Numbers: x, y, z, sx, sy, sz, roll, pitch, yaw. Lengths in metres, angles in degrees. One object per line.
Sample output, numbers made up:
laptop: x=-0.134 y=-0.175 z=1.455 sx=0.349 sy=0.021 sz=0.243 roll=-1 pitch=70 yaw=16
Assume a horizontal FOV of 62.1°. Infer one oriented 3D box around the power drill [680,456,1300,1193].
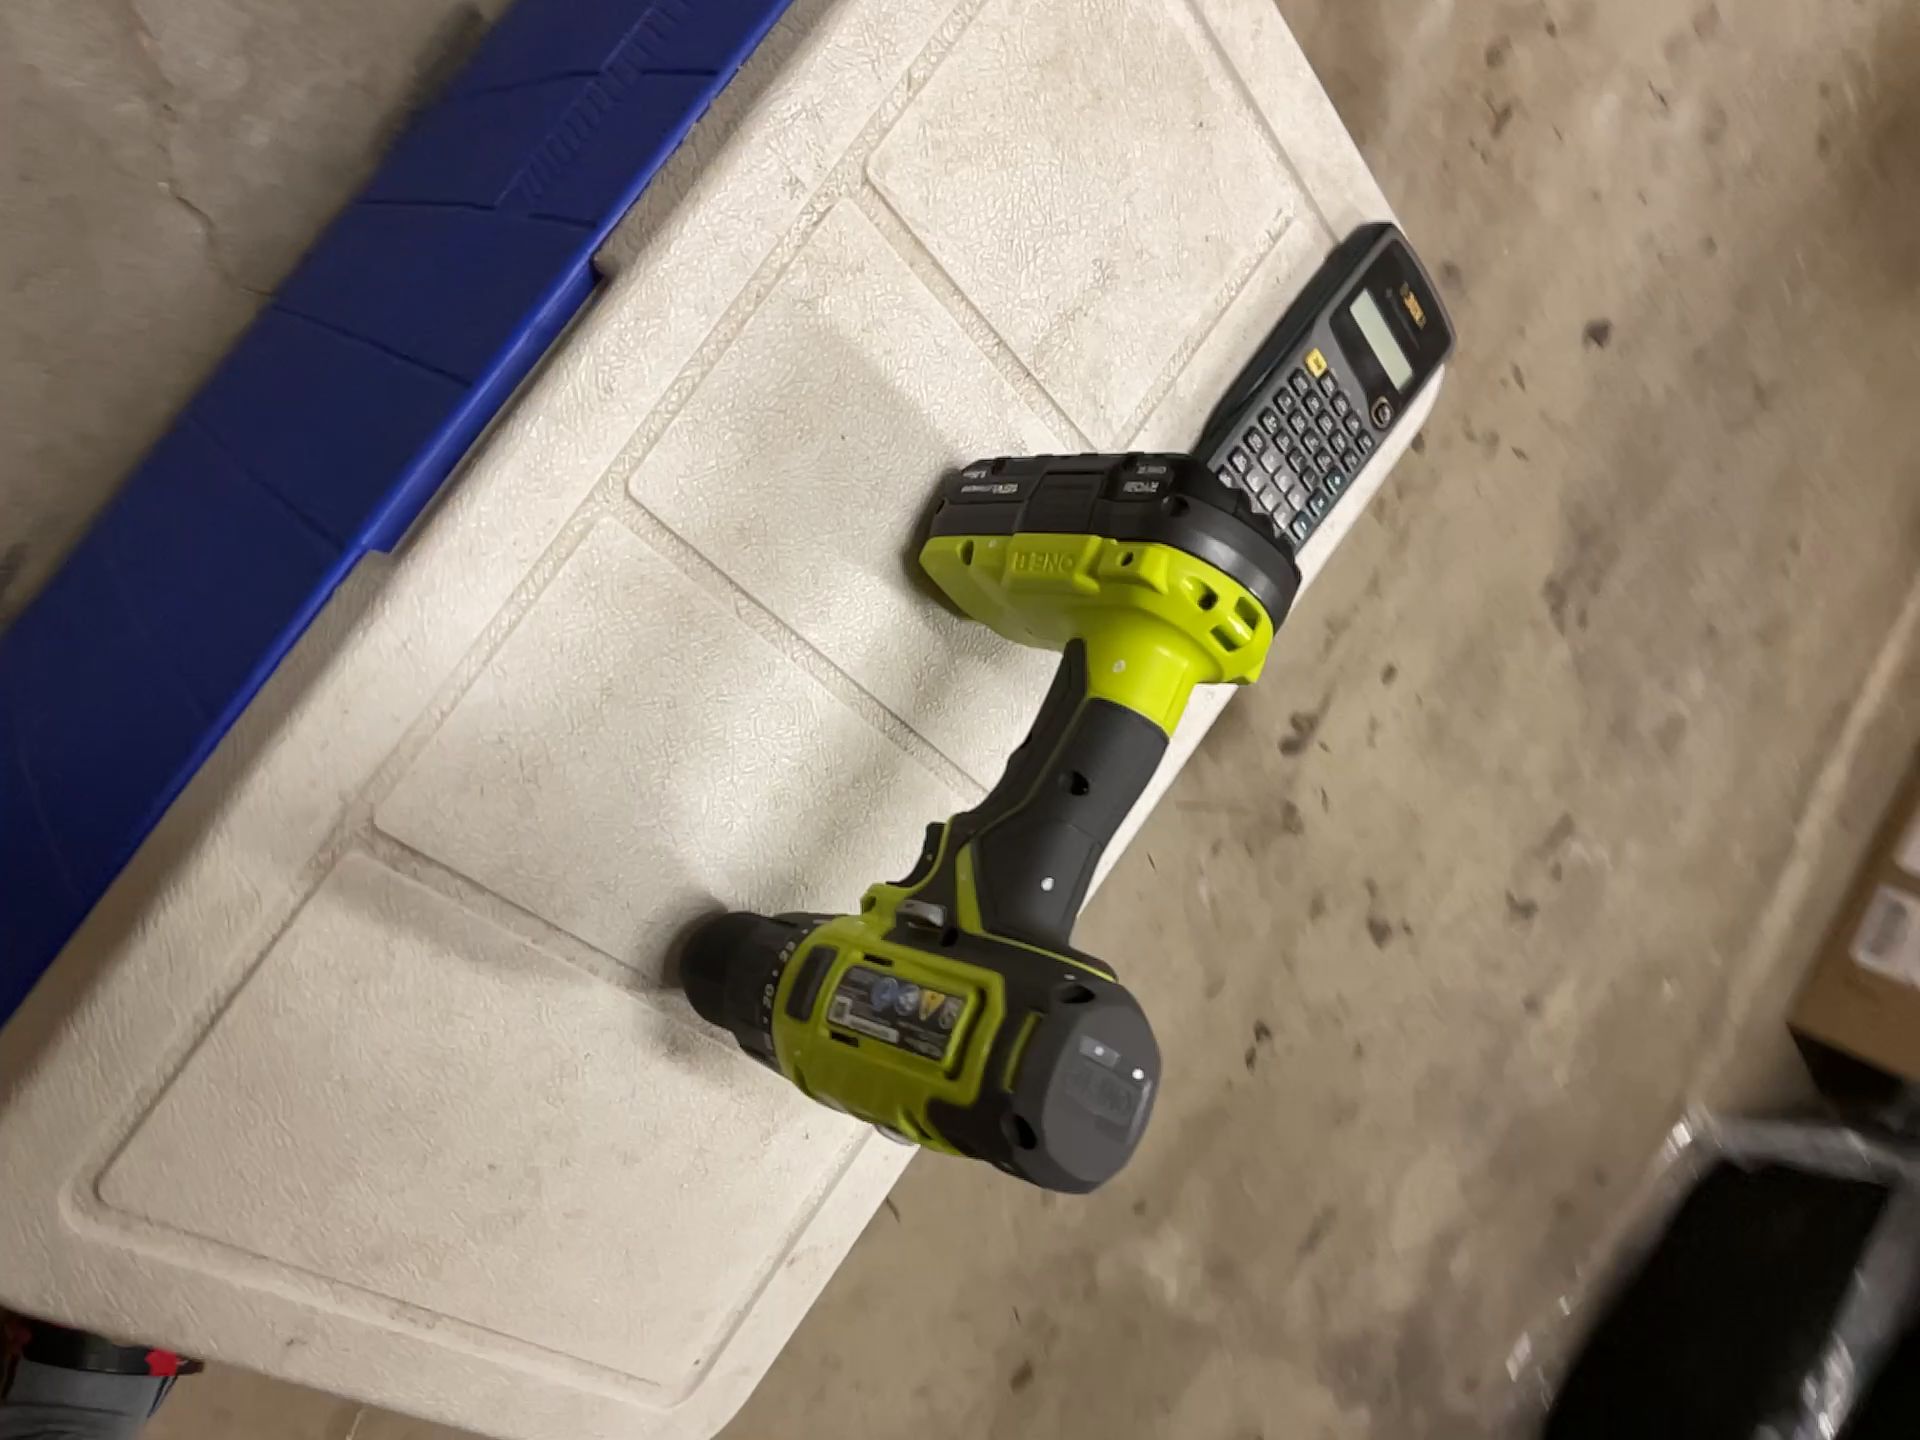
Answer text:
power drill: x=0.005 y=0.027 z=0.545 sx=0.080 sy=0.190 sz=0.229 roll=38 pitch=69 yaw=-41
